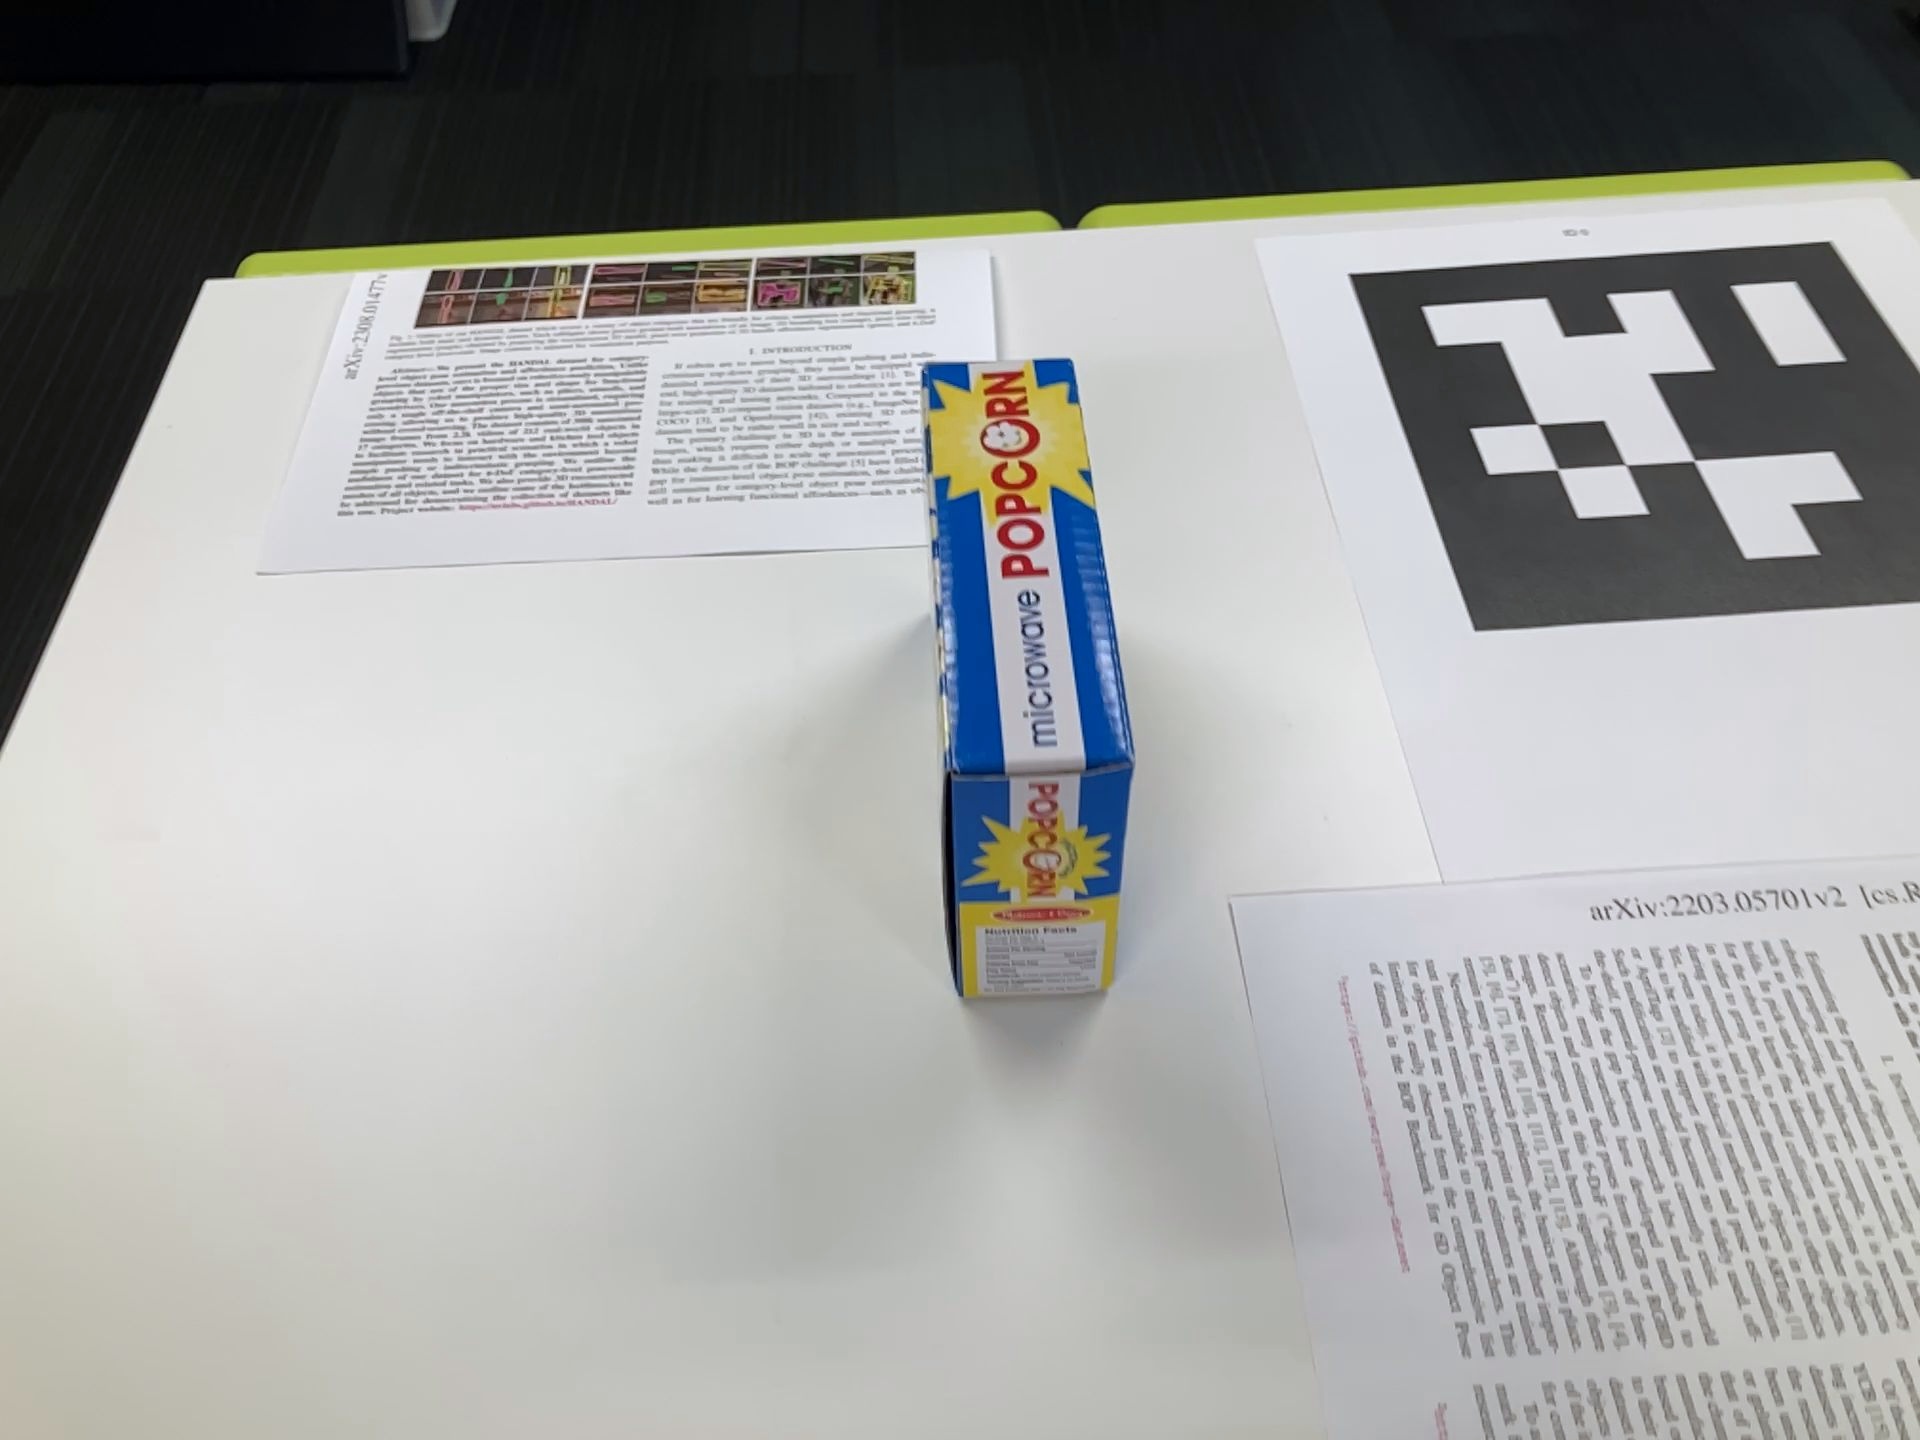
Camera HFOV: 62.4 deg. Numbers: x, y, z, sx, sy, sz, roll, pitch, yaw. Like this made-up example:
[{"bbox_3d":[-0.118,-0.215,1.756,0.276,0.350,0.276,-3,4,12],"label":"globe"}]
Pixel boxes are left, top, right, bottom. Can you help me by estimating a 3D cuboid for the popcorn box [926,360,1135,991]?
[{"bbox_3d":[0.014,-0.012,0.371,0.038,0.085,0.126,-3,50,0],"label":"popcorn box"}]
